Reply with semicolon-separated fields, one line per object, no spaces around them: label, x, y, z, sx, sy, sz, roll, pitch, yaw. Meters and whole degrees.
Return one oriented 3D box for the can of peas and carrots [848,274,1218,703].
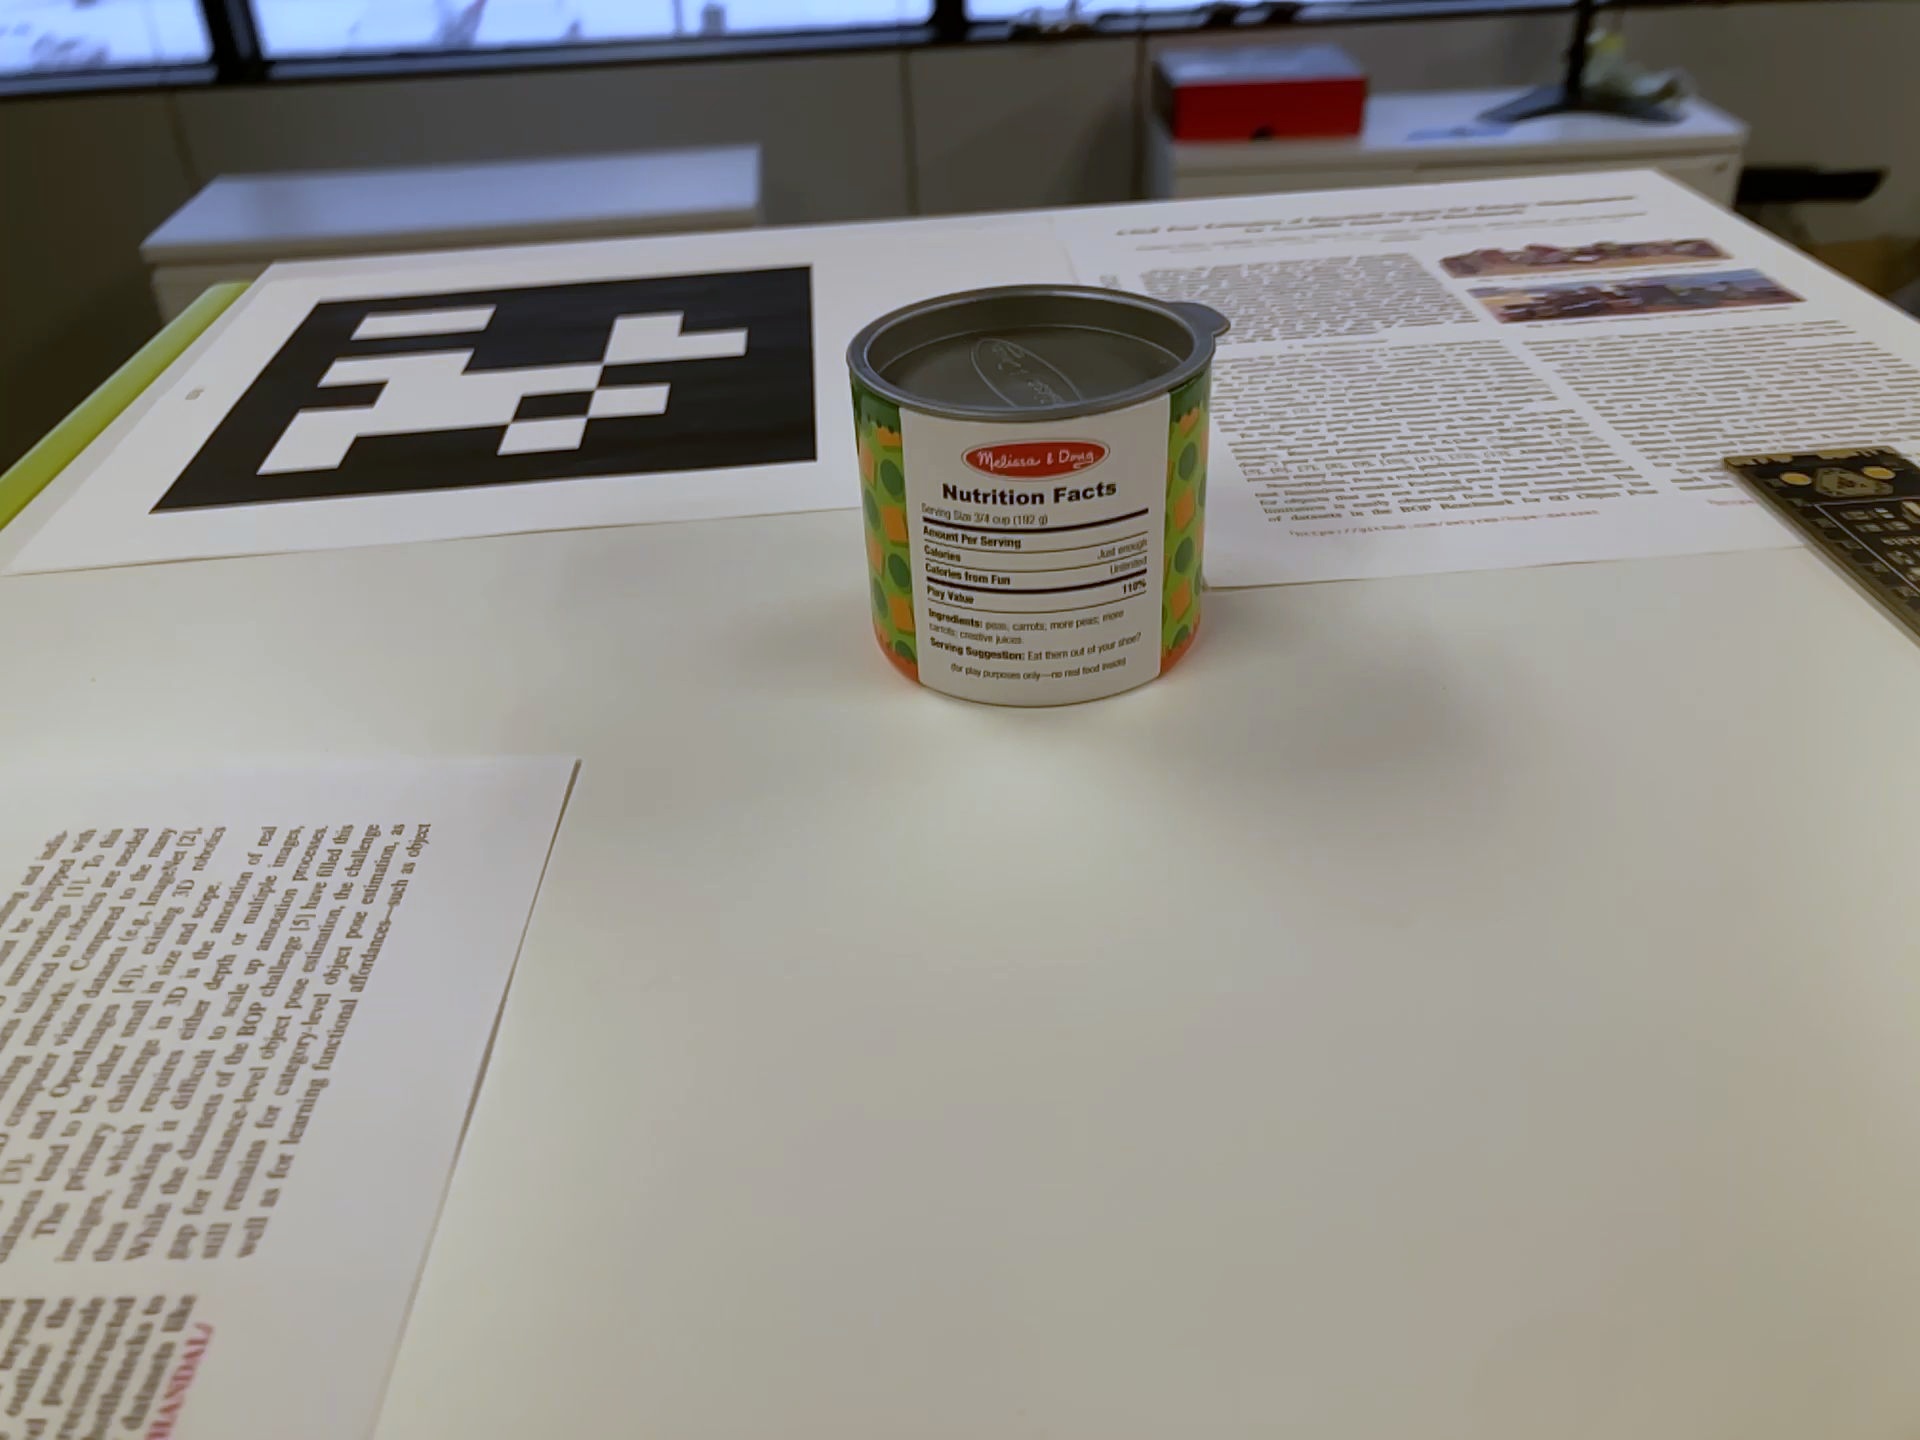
can of peas and carrots;0.015;-0.046;0.303;0.071;0.059;0.071;-2;33;2
